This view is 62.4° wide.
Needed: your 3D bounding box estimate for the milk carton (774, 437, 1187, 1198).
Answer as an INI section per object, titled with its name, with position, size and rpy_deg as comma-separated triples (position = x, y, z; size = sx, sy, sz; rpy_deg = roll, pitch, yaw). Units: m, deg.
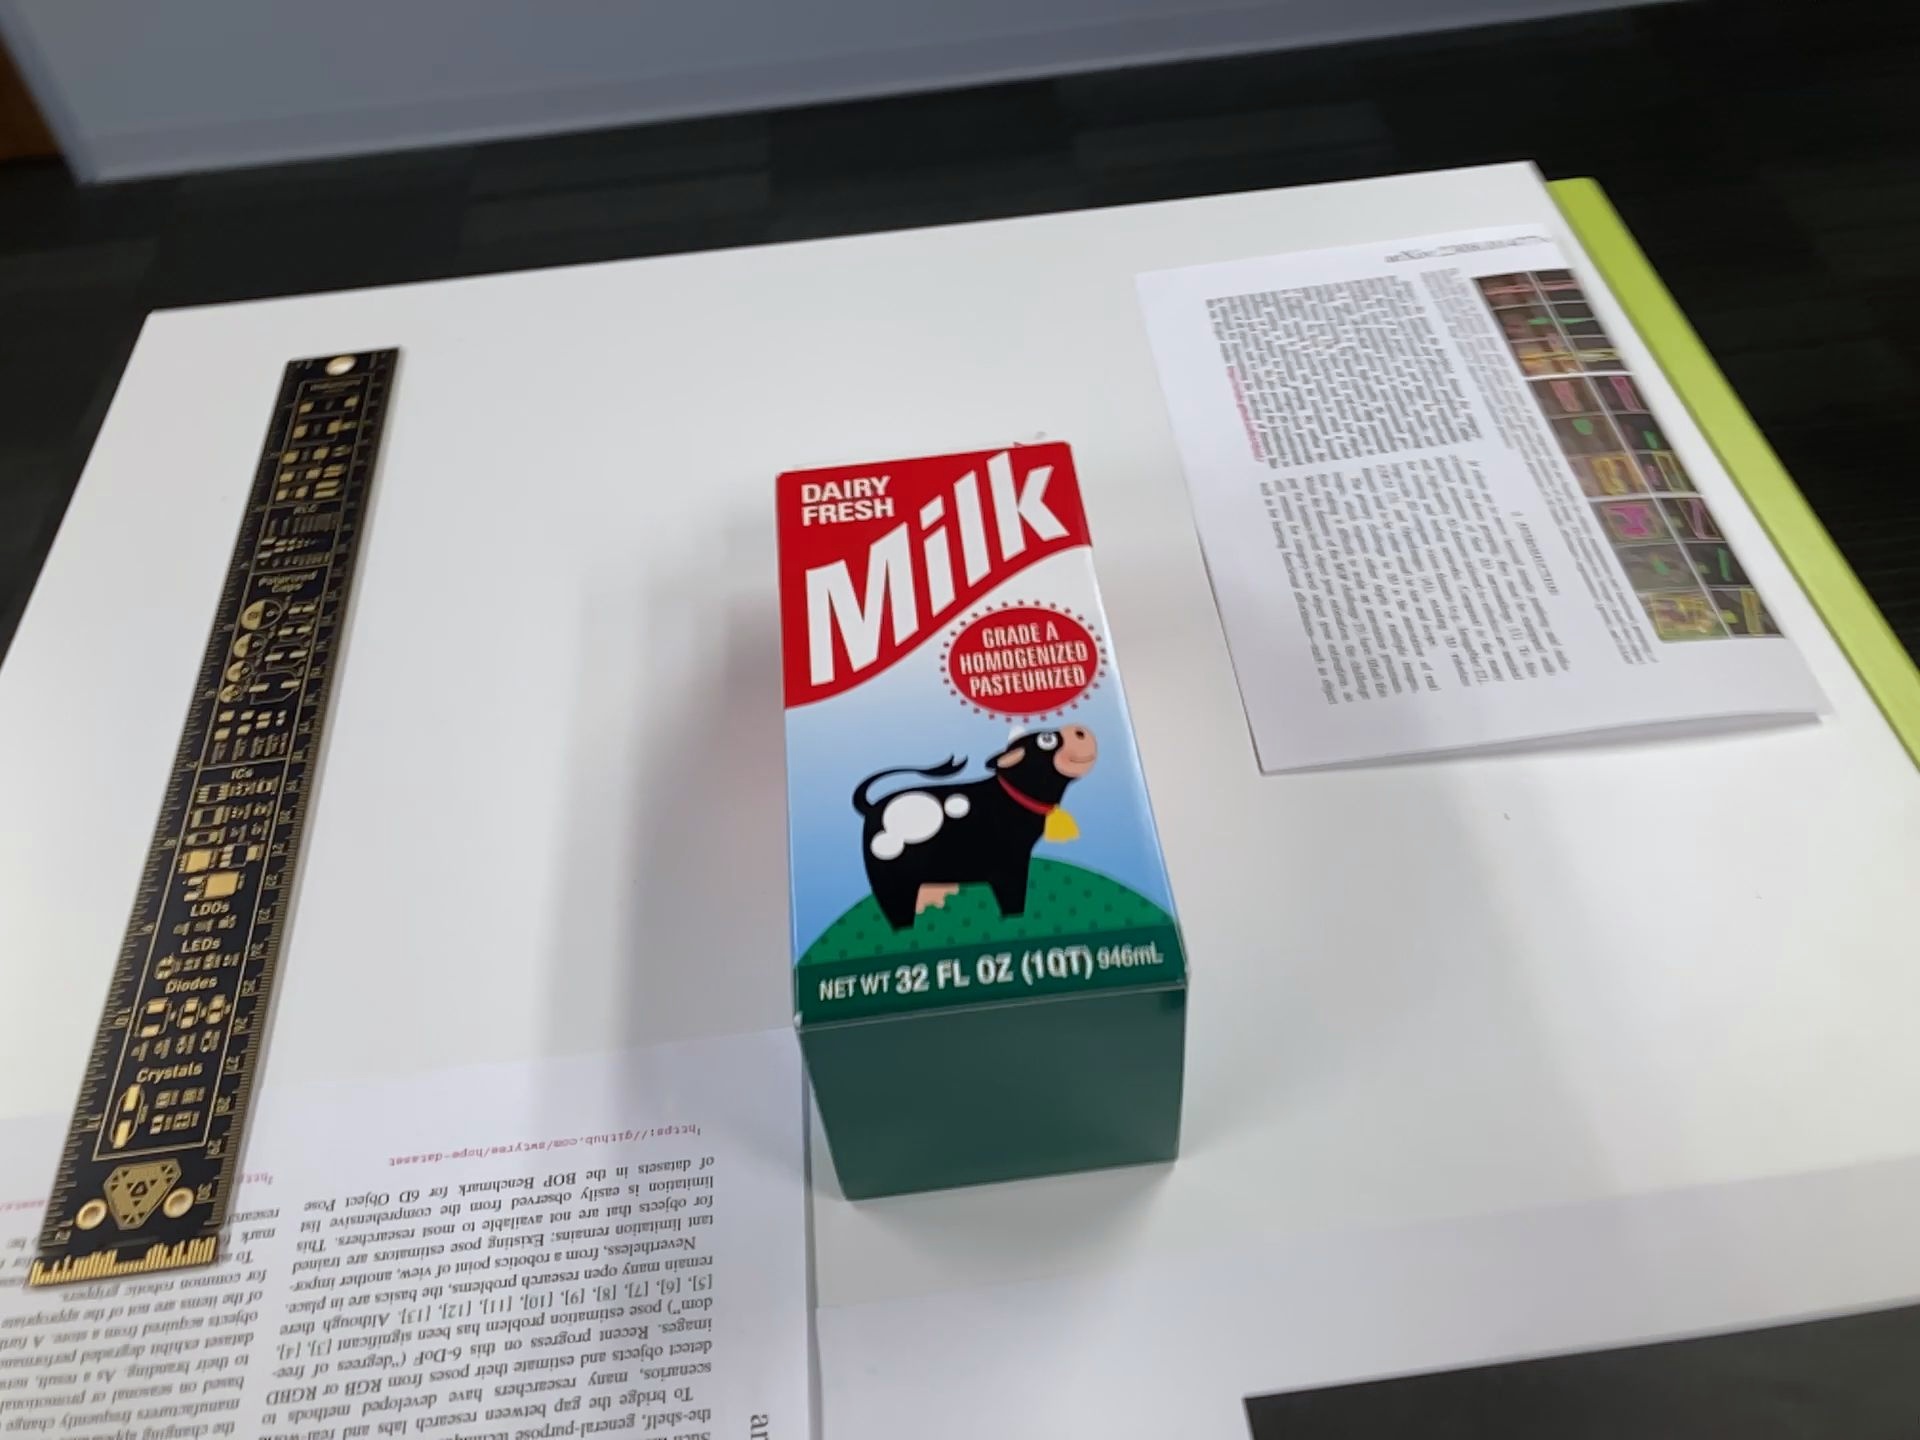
[milk carton]
position = -0.001, 0.001, 0.361
size = 0.072, 0.073, 0.190
rpy_deg = -8, 48, 0
